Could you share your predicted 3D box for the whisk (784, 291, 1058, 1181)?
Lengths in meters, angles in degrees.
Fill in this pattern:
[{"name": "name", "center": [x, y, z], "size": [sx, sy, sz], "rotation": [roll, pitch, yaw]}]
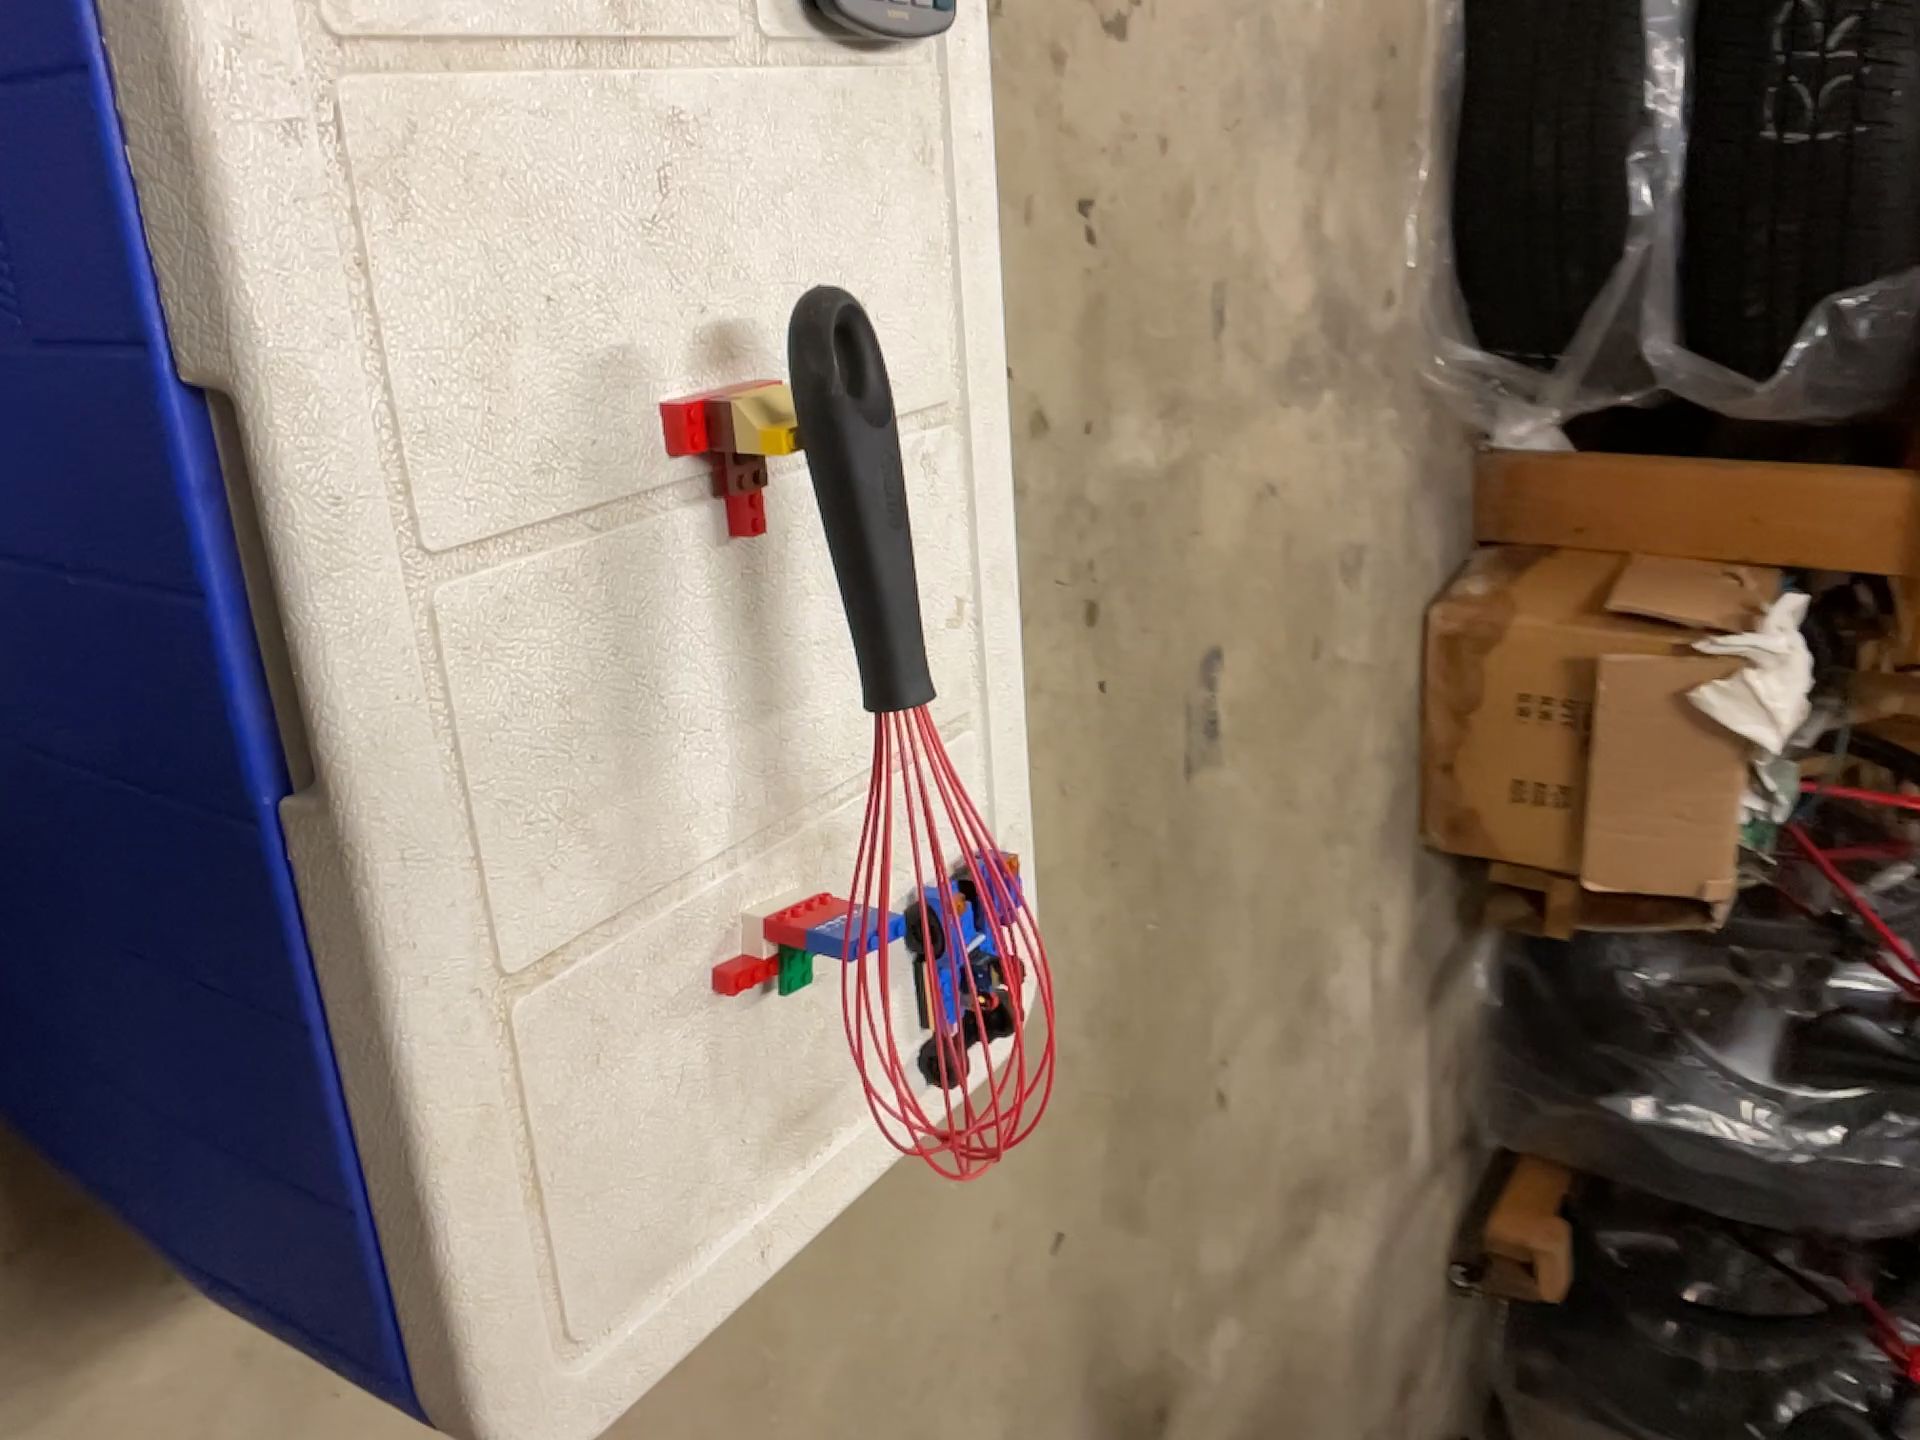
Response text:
[{"name": "whisk", "center": [-0.017, 0.013, 0.512], "size": [0.073, 0.073, 0.295], "rotation": [-25, 110, -48]}]
